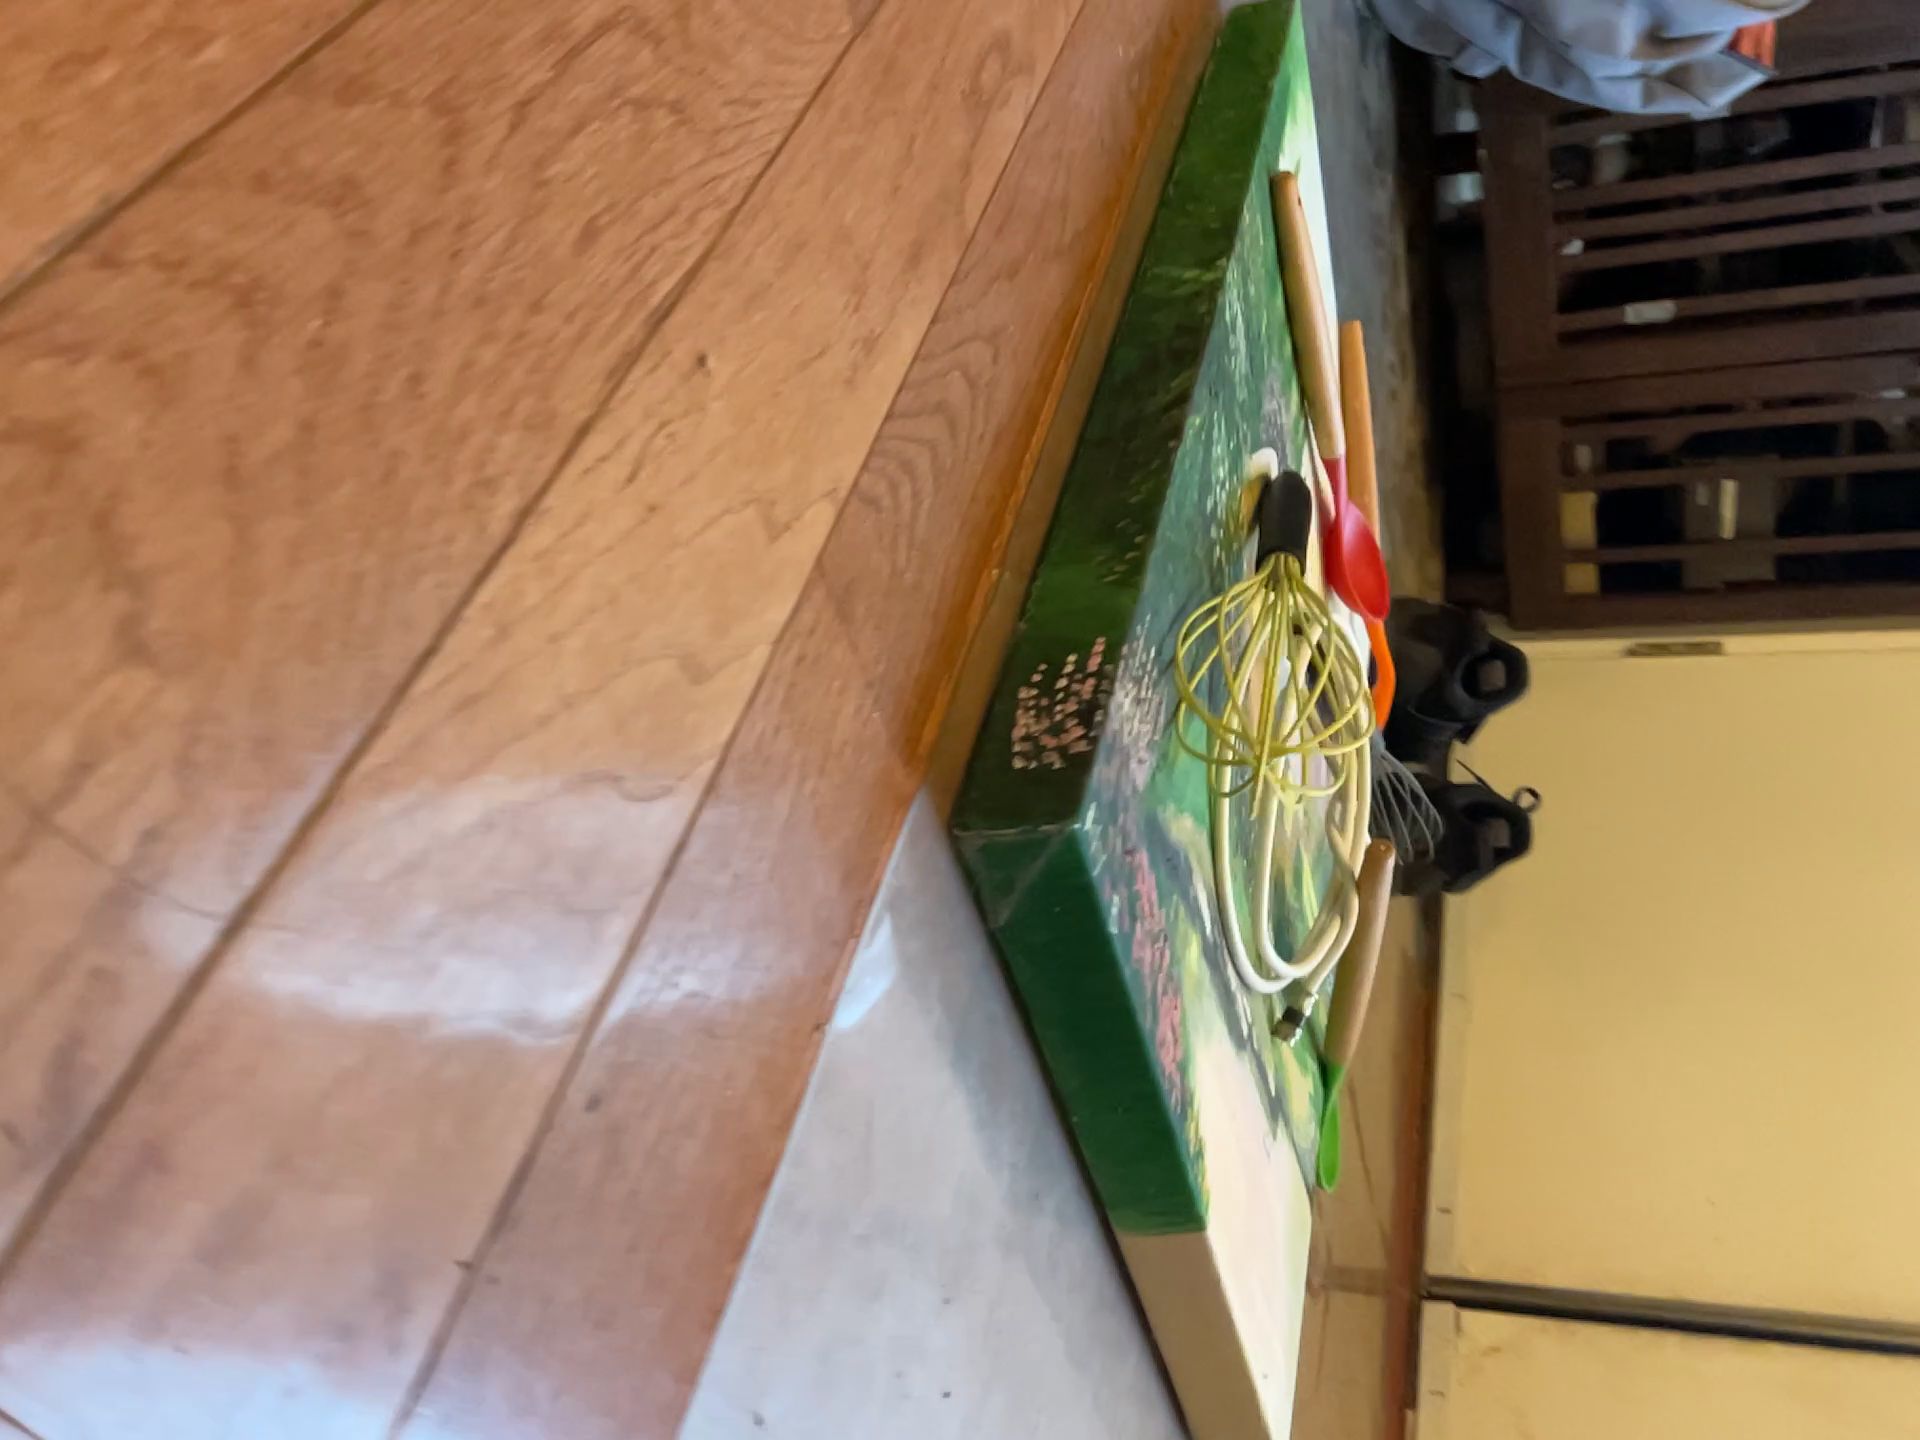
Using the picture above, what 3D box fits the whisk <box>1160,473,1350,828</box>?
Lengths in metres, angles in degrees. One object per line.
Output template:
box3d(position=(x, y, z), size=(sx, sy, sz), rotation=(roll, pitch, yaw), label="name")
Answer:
box3d(position=(0.129, -0.050, 0.665), size=(0.312, 0.067, 0.080), rotation=(-64, 152, -60), label="whisk")

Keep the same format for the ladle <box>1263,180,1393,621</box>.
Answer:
box3d(position=(0.206, -0.169, 0.898), size=(0.315, 0.031, 0.069), rotation=(61, 34, -46), label="ladle")

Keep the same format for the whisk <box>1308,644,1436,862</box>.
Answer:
box3d(position=(0.246, 0.016, 0.966), size=(0.238, 0.055, 0.055), rotation=(57, 27, -44), label="whisk")

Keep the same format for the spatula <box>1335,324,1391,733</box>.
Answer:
box3d(position=(0.260, -0.098, 1.059), size=(0.081, 0.041, 0.322), rotation=(-64, 146, -70), label="spatula")

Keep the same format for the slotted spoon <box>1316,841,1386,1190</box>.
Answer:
box3d(position=(0.207, 0.165, 0.865), size=(0.313, 0.031, 0.070), rotation=(83, 19, -48), label="slotted spoon")
